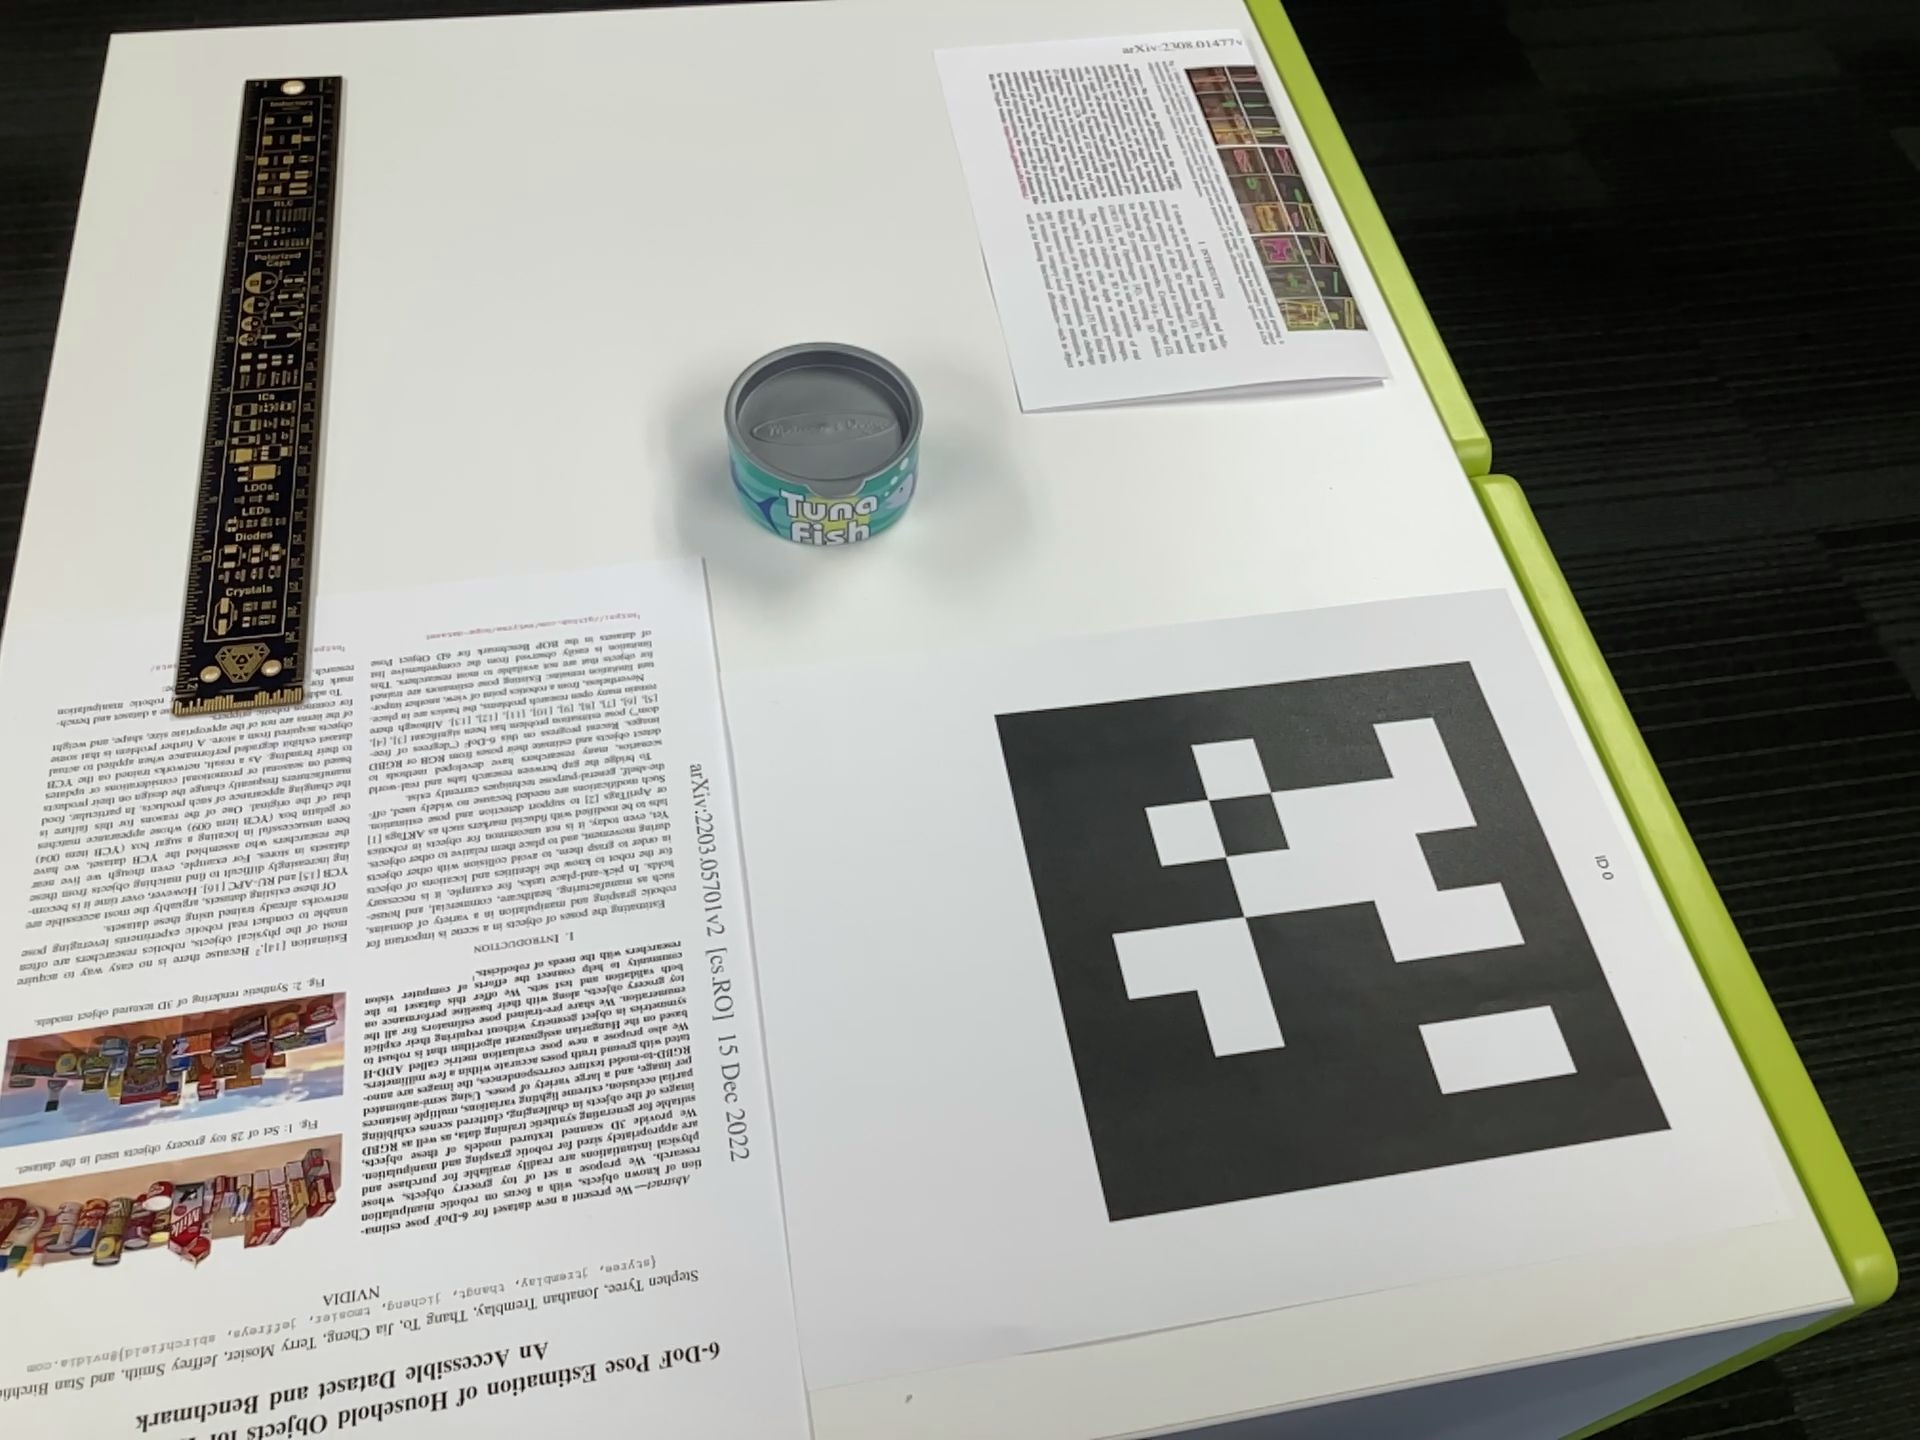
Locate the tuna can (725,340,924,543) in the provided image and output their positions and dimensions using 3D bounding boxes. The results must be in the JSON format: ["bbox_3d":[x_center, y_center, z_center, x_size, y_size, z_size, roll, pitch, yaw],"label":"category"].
[{"bbox_3d":[-0.046,-0.093,0.541,0.071,0.033,0.071,2,56,-3],"label":"tuna can"}]
